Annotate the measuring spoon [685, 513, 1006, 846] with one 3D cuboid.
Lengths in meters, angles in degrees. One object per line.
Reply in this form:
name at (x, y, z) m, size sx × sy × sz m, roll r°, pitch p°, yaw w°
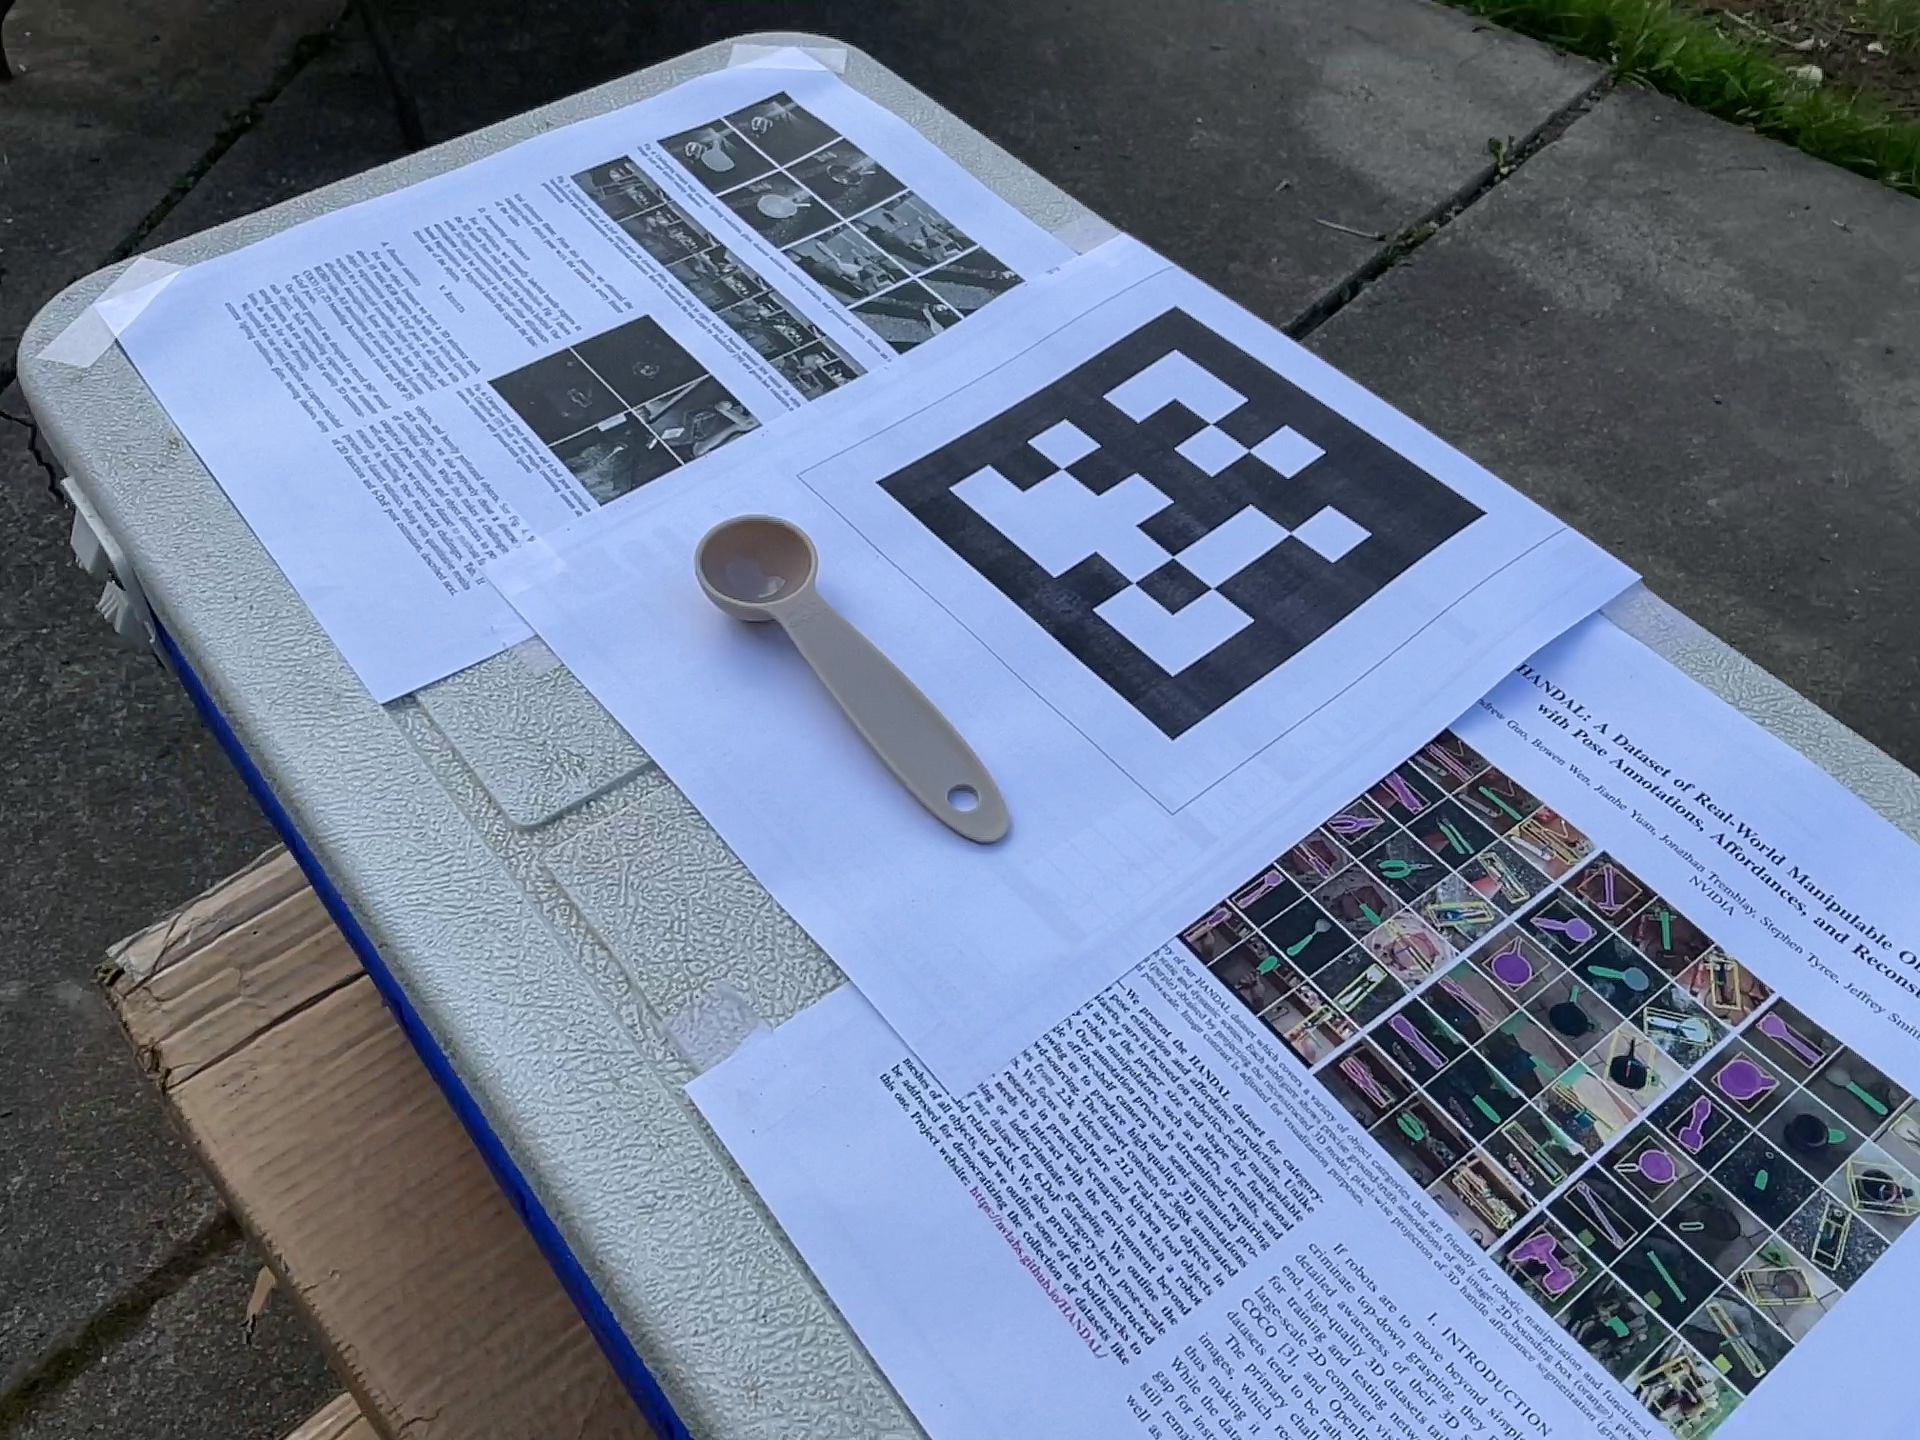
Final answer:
measuring spoon at (-0.030, -0.009, 0.425) m, size 0.034 × 0.018 × 0.124 m, roll -31°, pitch 64°, yaw -25°
